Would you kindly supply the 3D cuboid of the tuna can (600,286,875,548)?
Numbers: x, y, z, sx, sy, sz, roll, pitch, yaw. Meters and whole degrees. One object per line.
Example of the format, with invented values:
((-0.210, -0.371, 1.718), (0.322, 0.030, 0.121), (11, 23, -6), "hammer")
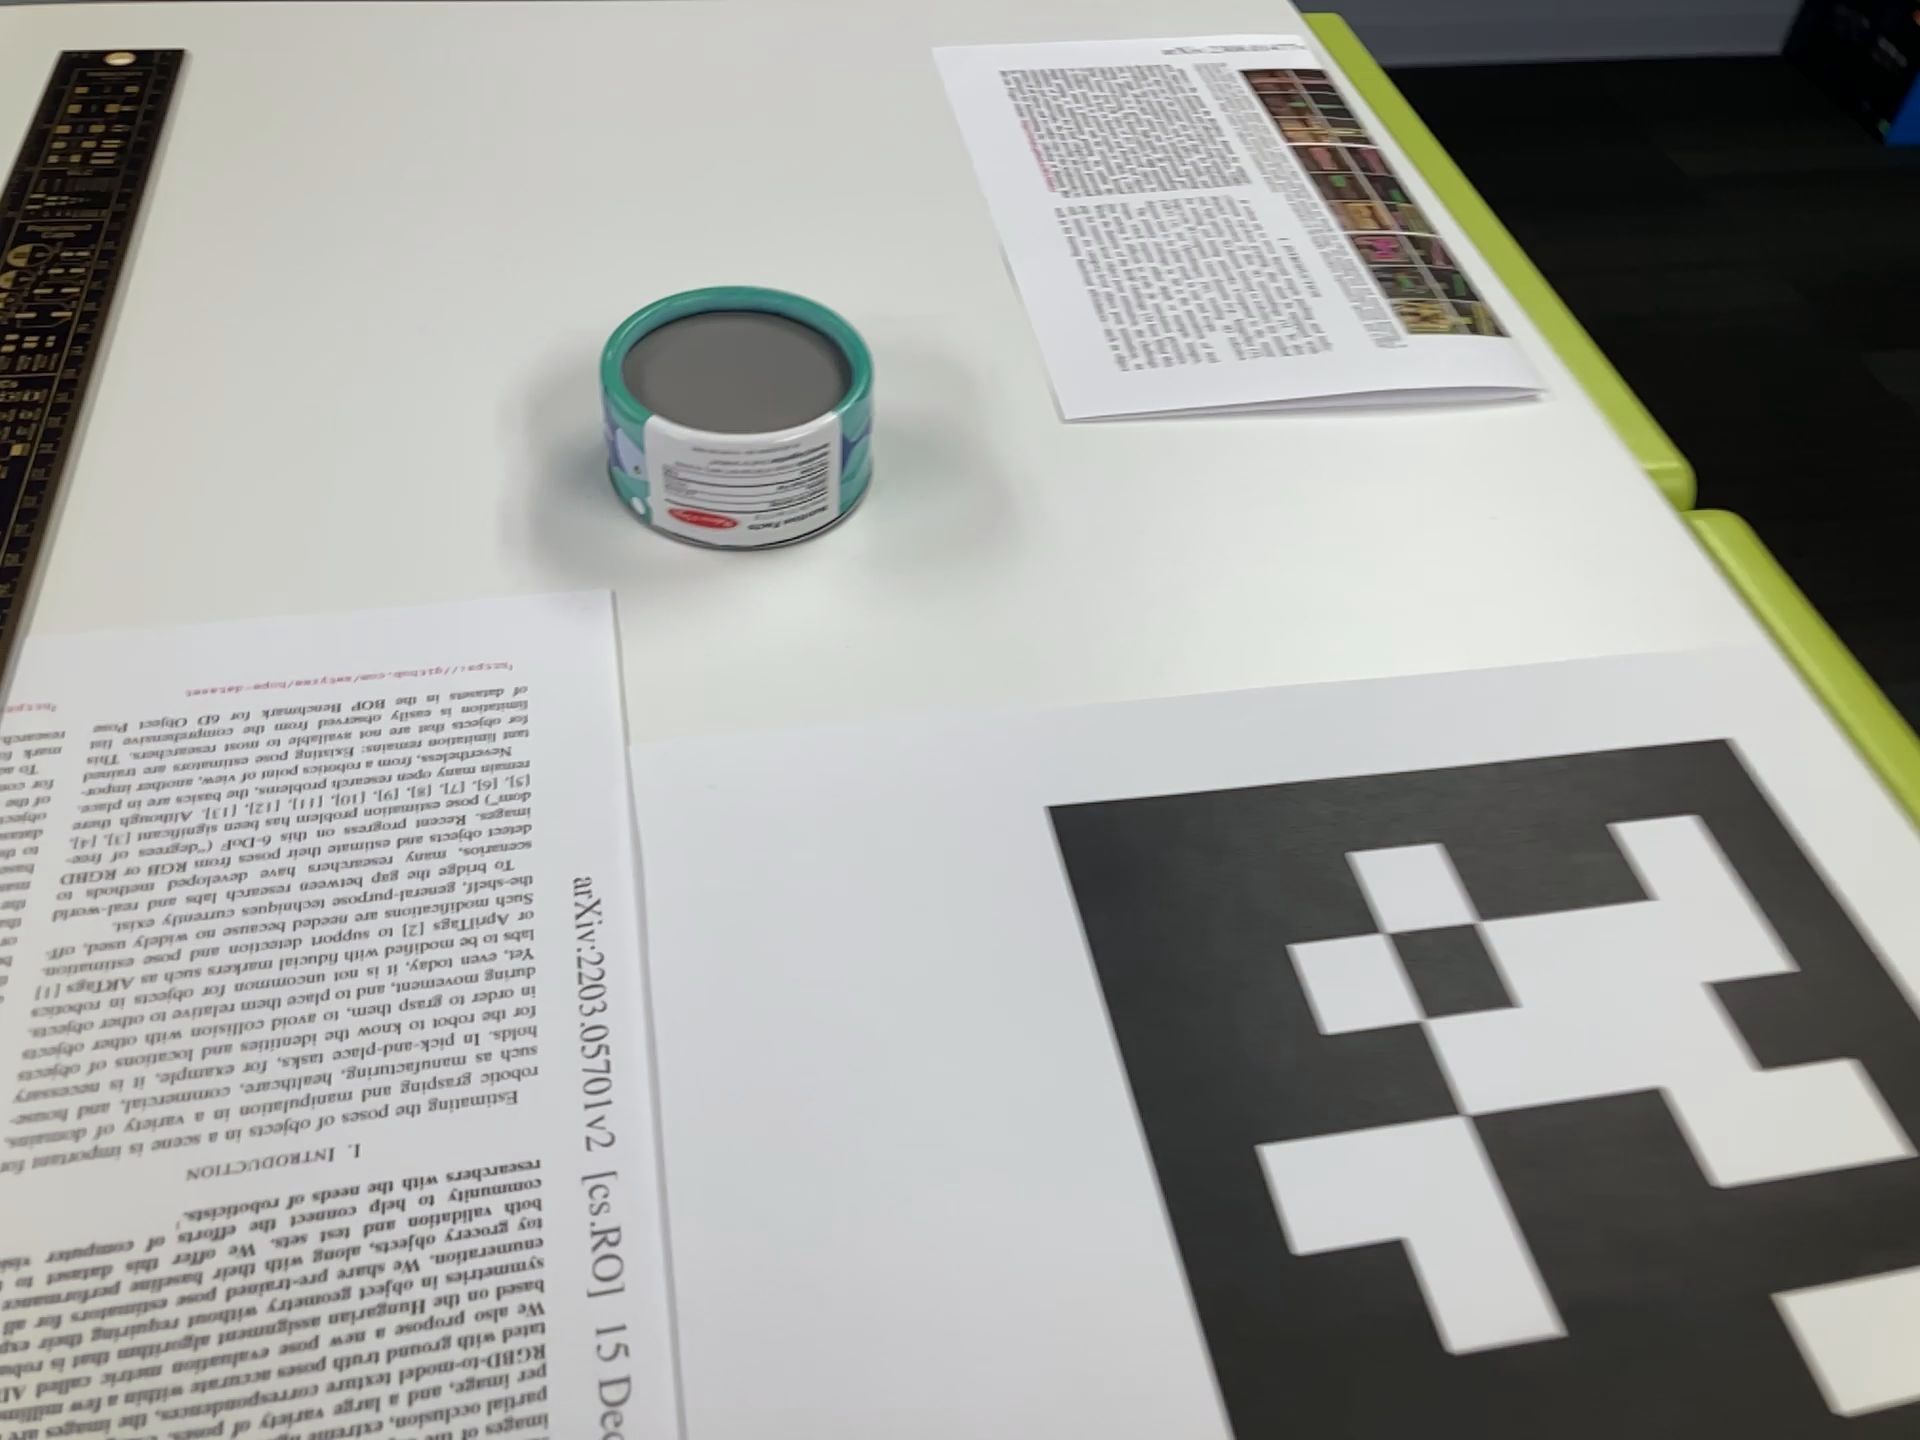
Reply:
((-0.055, -0.078, 0.392), (0.071, 0.033, 0.071), (4, 46, -4), "tuna can")
